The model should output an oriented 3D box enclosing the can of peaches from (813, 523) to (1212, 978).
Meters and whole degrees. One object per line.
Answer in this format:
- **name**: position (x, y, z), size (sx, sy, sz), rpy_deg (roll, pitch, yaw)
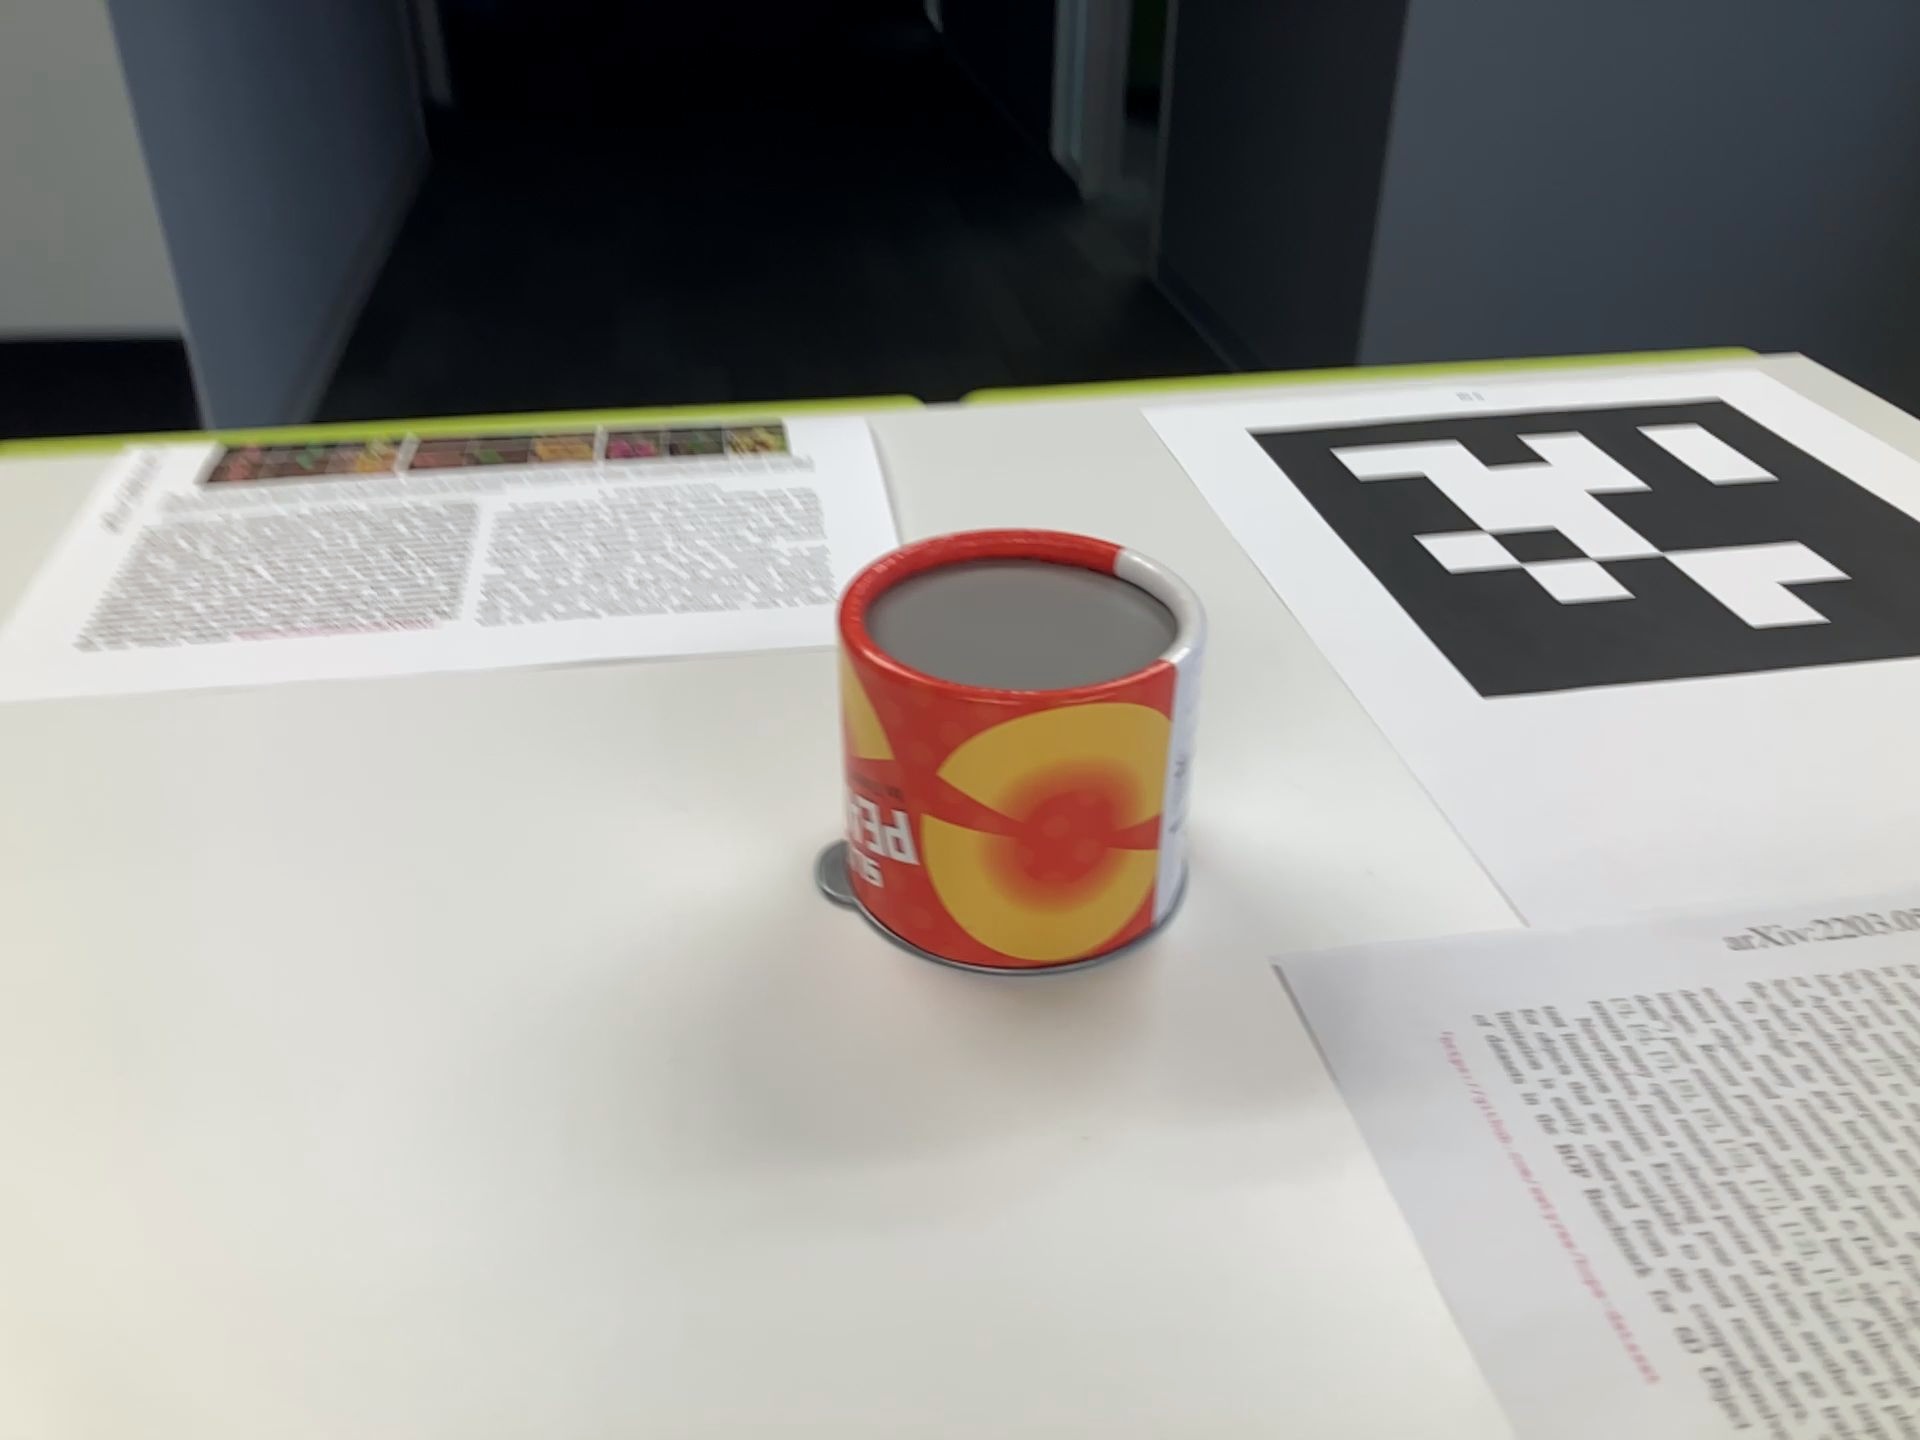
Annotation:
- **can of peaches**: position (0.008, 0.003, 0.287), size (0.071, 0.058, 0.071), rpy_deg (1, 32, -1)
